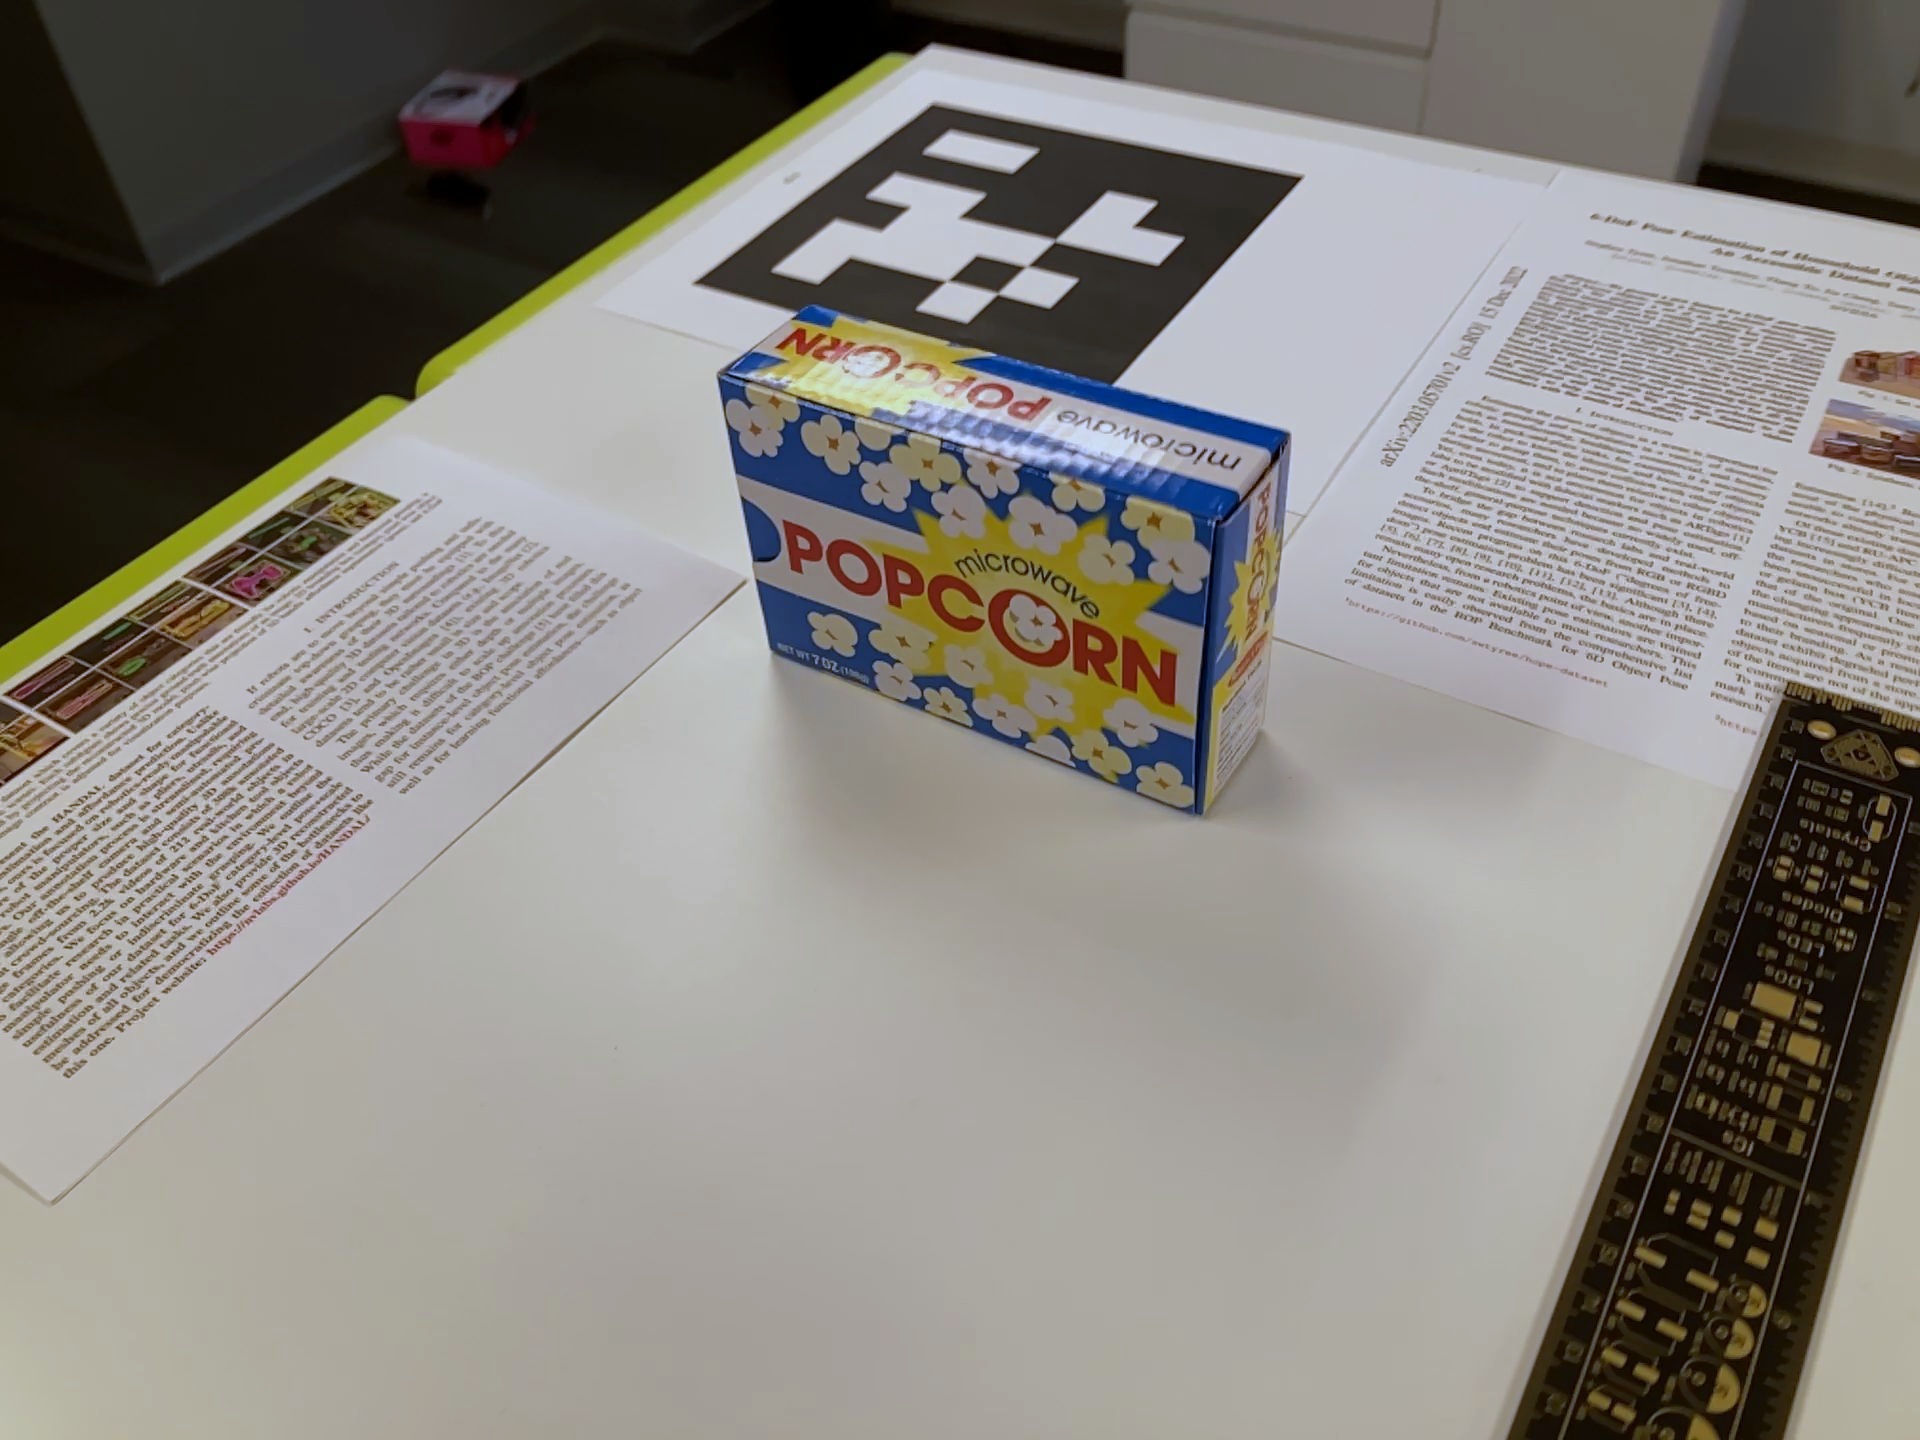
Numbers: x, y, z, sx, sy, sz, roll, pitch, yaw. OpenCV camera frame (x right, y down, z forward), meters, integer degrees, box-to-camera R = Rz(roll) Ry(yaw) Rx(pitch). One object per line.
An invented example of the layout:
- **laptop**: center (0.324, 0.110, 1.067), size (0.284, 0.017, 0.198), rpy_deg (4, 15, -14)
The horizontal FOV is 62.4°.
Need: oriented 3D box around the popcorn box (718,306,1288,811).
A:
- **popcorn box**: center (0.010, -0.039, 0.373), size (0.126, 0.085, 0.038), rpy_deg (21, 50, 24)
